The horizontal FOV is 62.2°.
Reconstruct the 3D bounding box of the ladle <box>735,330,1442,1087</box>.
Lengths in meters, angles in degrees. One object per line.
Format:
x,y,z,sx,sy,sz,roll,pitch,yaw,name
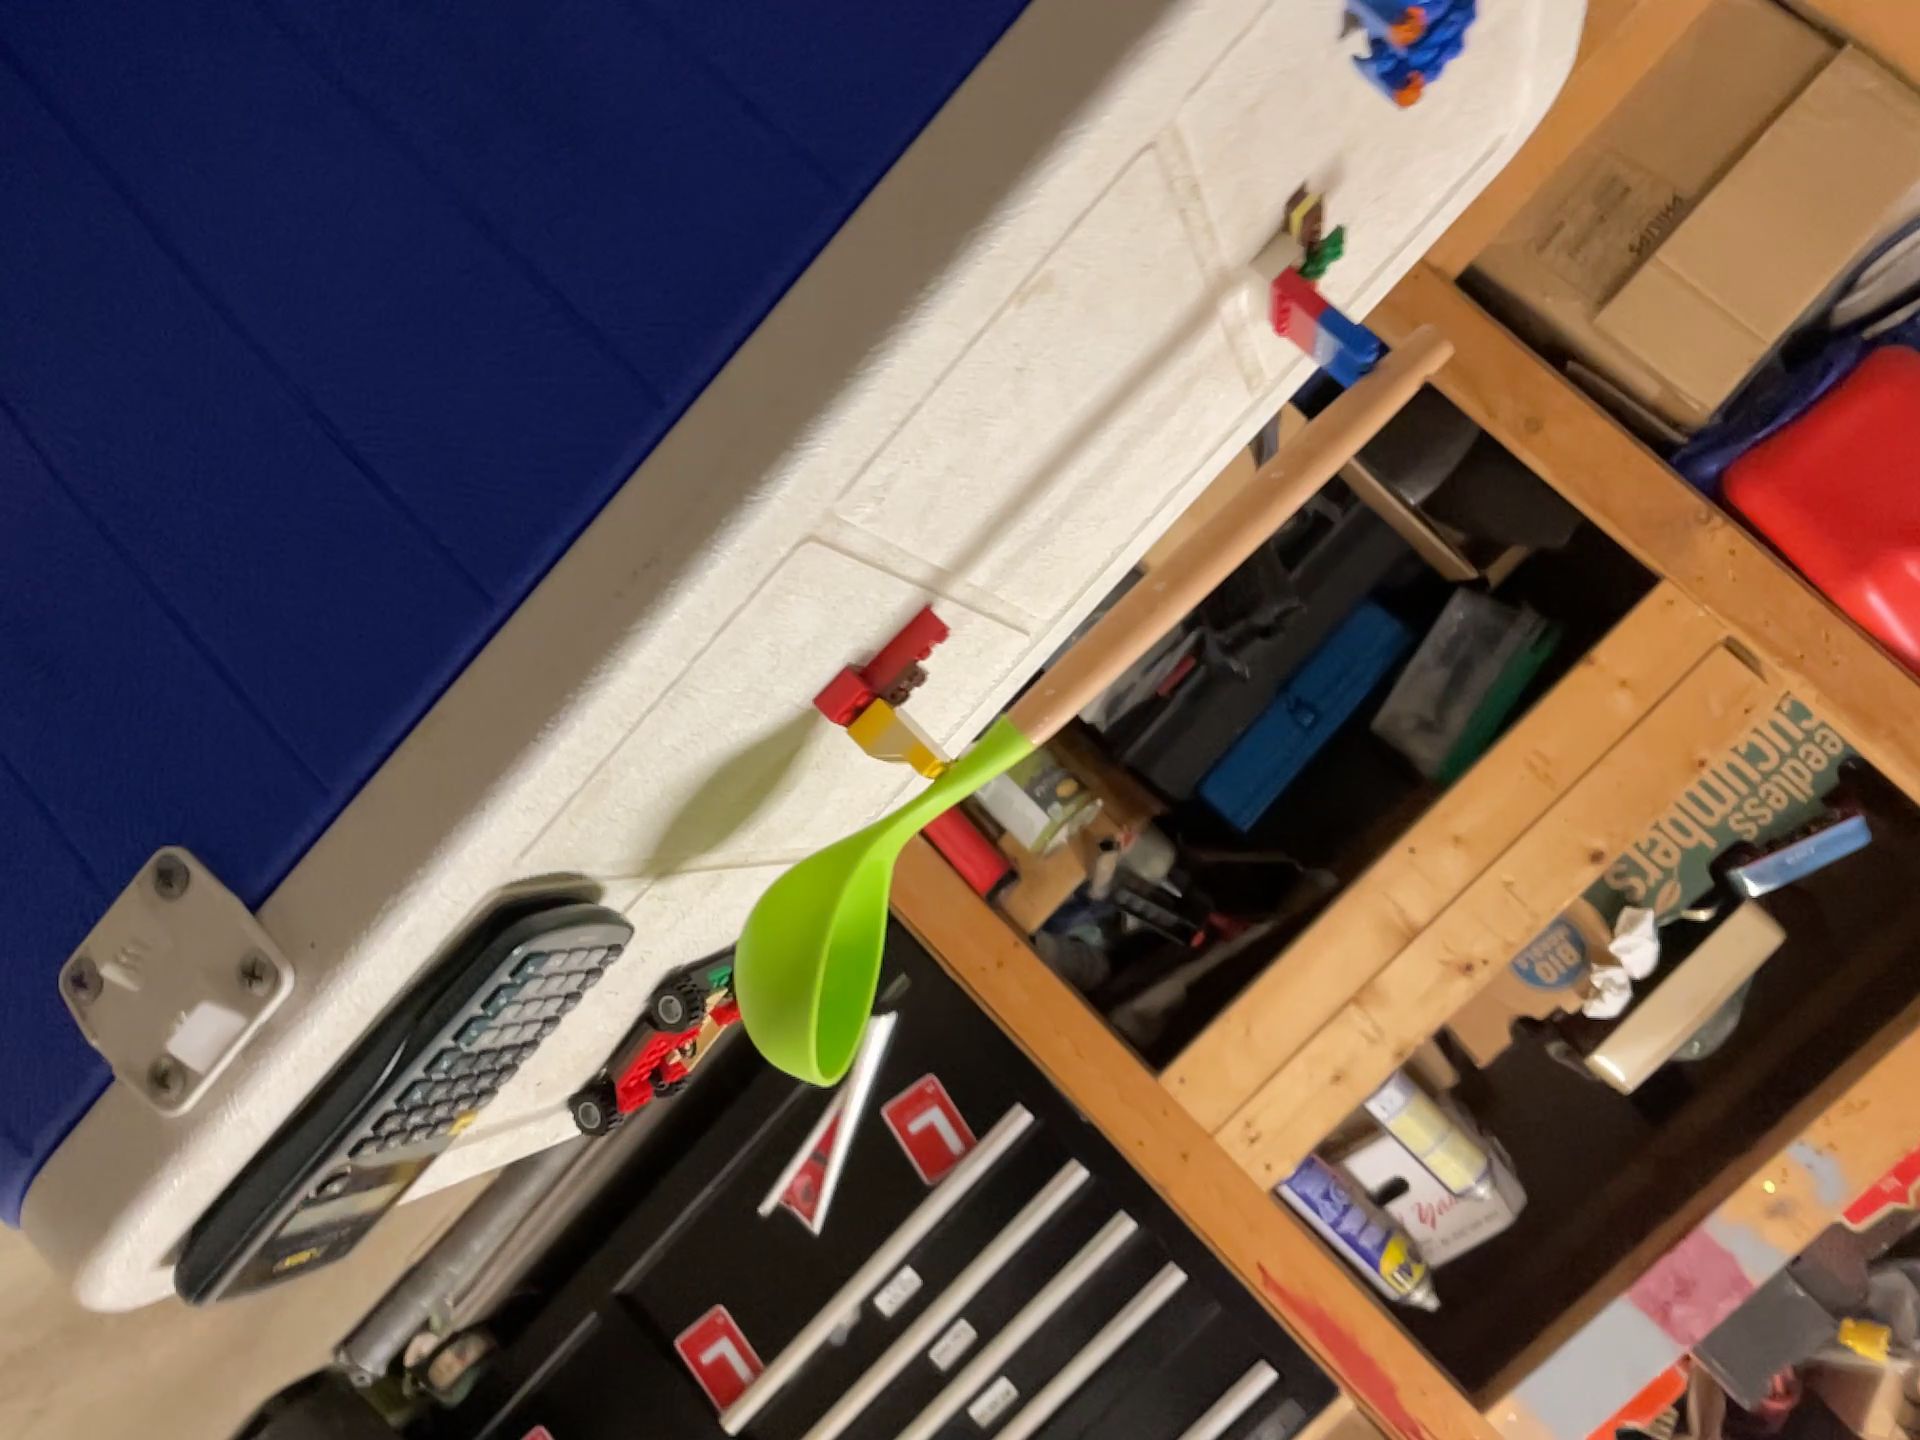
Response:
0.046,-0.005,0.526,0.320,0.062,0.078,-44,166,2,ladle
